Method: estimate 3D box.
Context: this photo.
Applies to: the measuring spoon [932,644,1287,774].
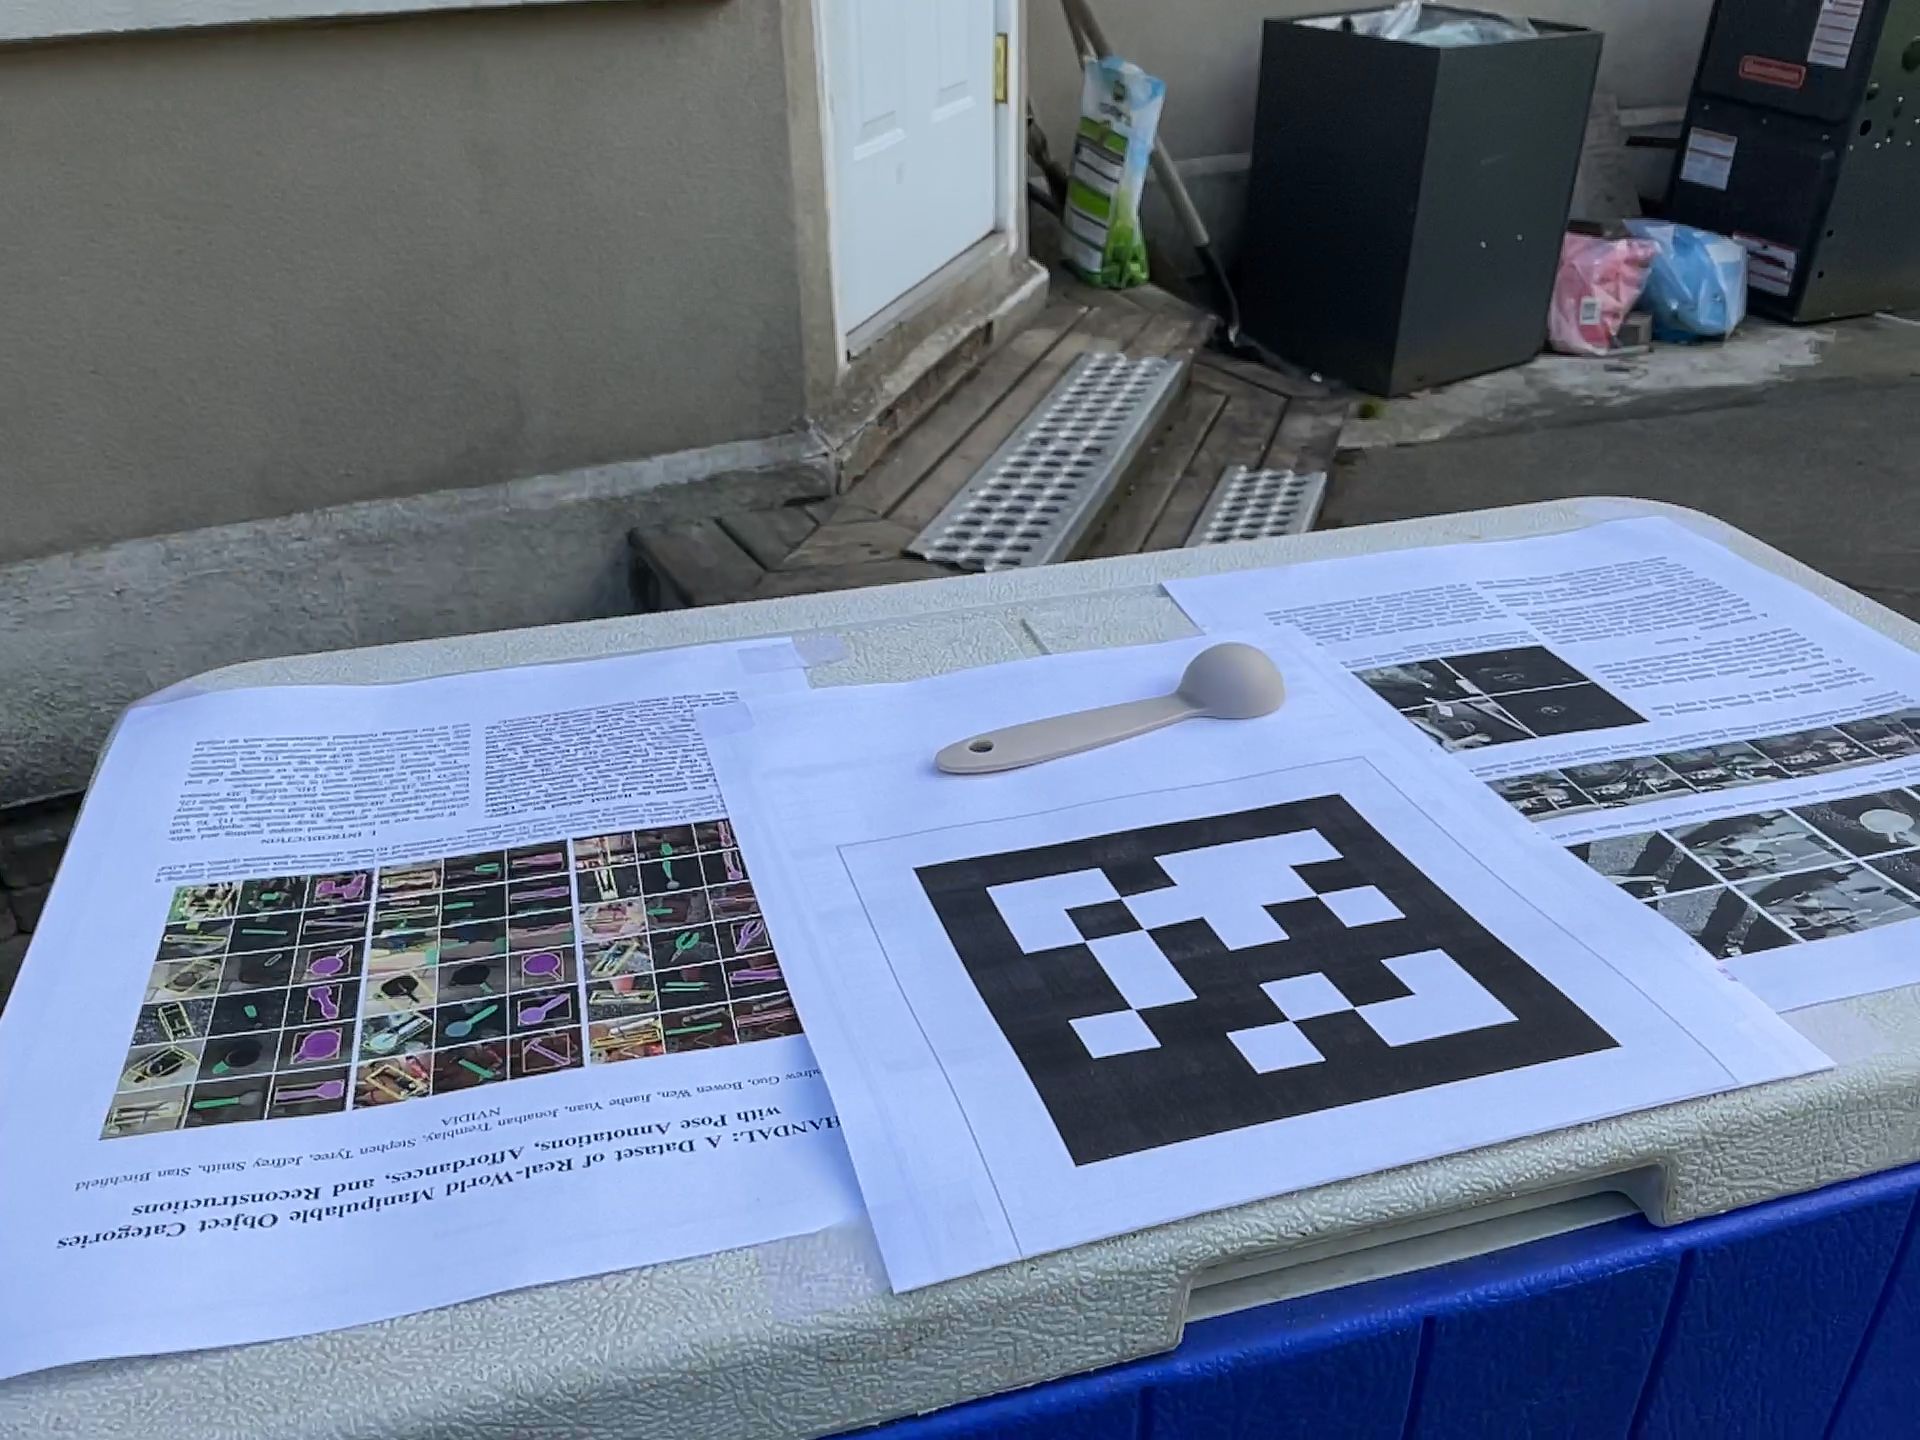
[{"bbox_3d":[0.048,-0.005,0.497,0.124,0.018,0.034,-14,31,-22],"label":"measuring spoon"}]
